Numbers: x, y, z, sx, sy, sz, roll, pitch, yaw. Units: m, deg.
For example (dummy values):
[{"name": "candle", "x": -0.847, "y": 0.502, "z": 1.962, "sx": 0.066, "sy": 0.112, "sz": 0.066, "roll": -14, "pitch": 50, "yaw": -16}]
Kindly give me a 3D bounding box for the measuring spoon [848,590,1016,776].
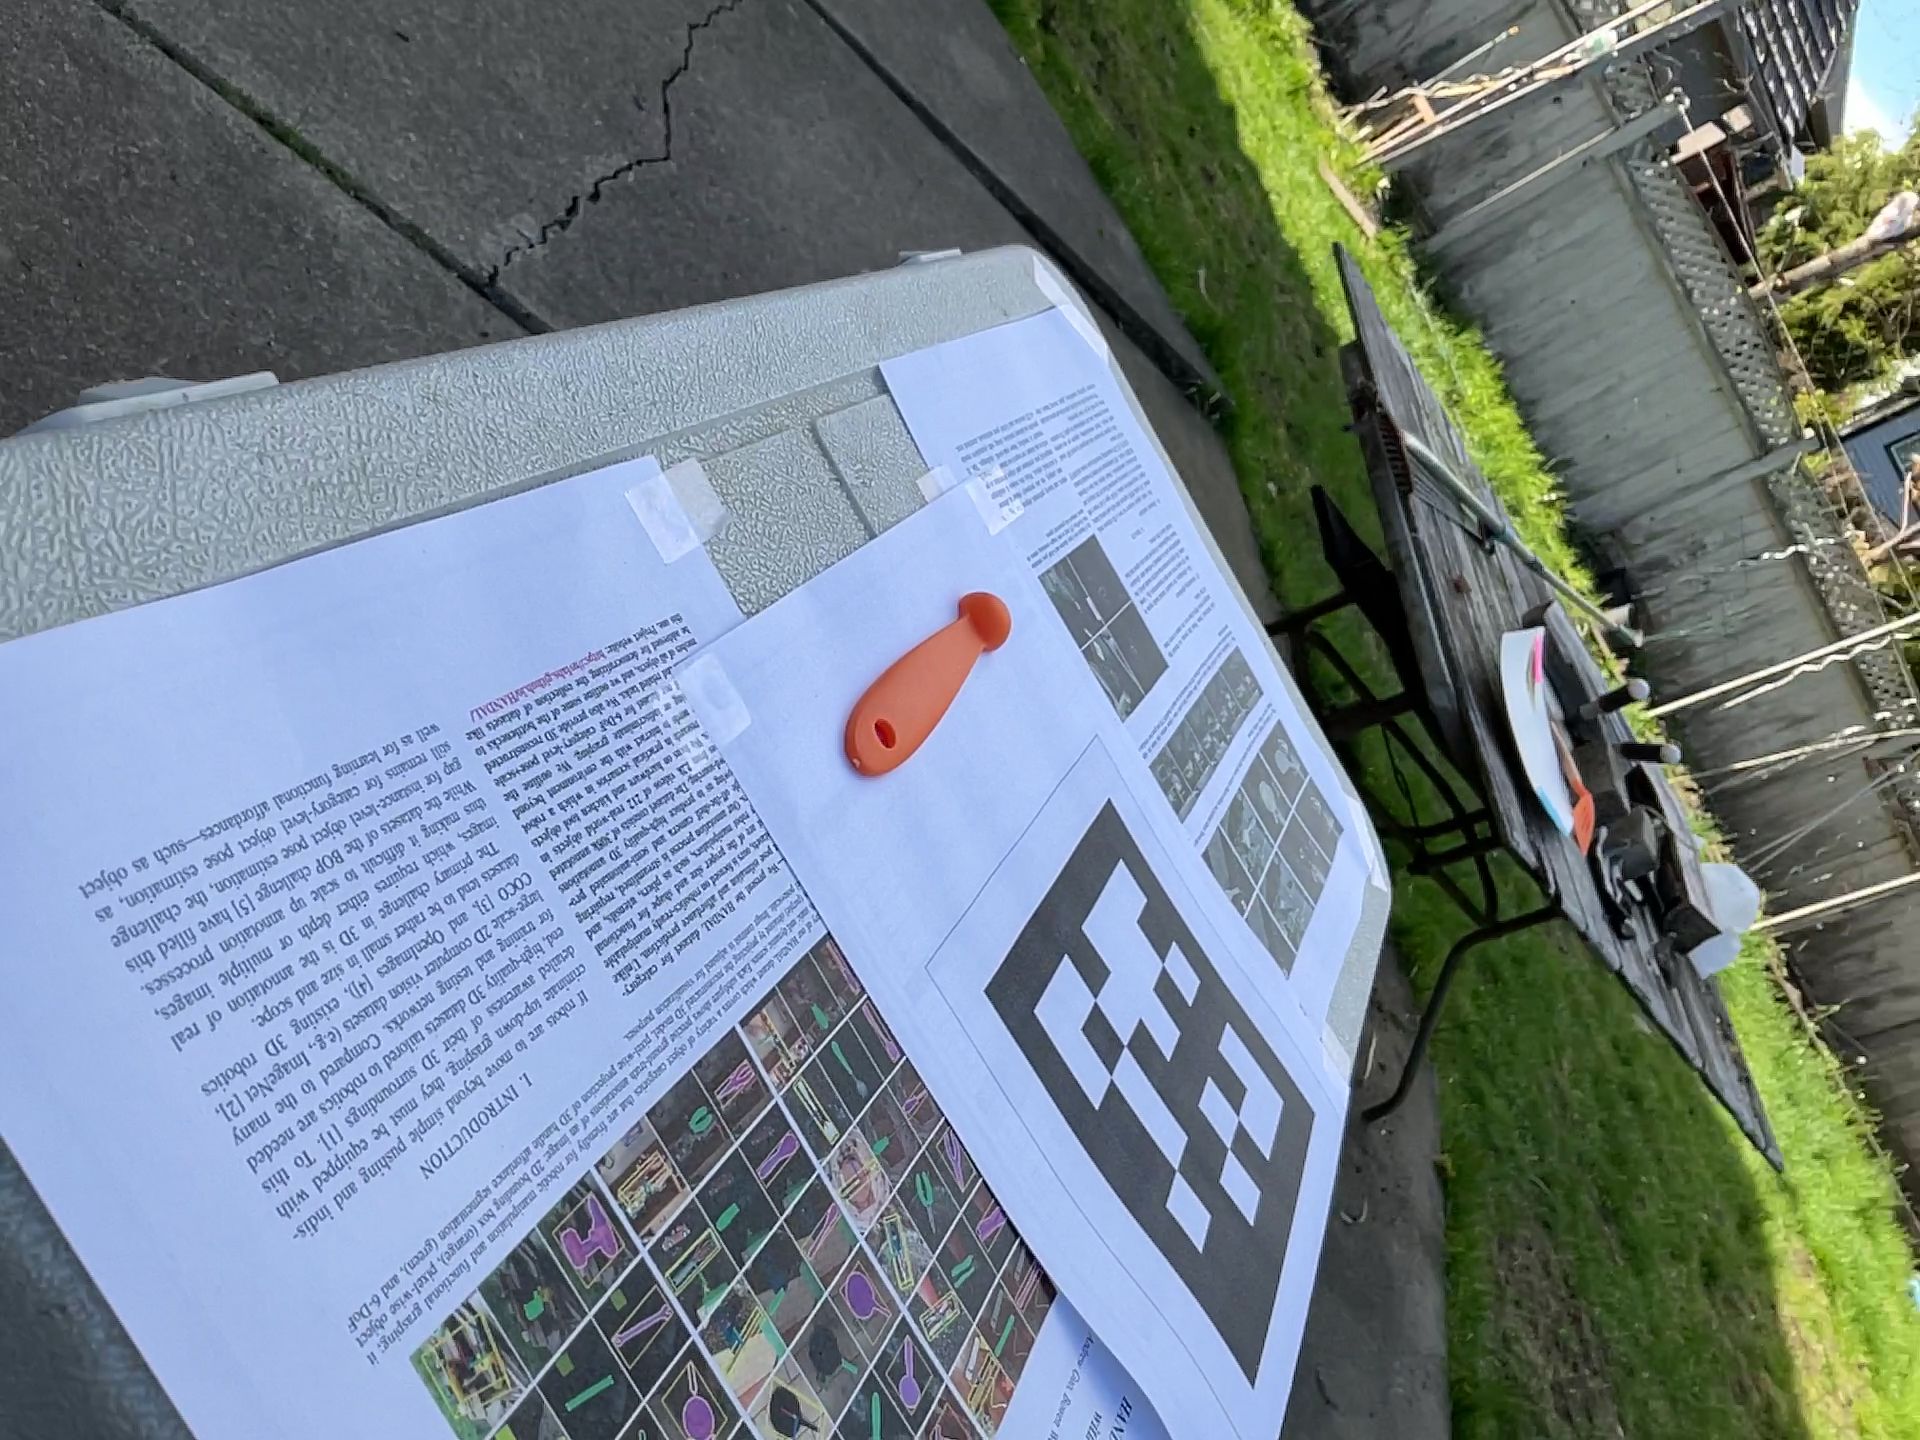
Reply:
[{"name": "measuring spoon", "x": -0.005, "y": -0.014, "z": 0.450, "sx": 0.021, "sy": 0.011, "sz": 0.117, "roll": 53, "pitch": 29, "yaw": -8}]
